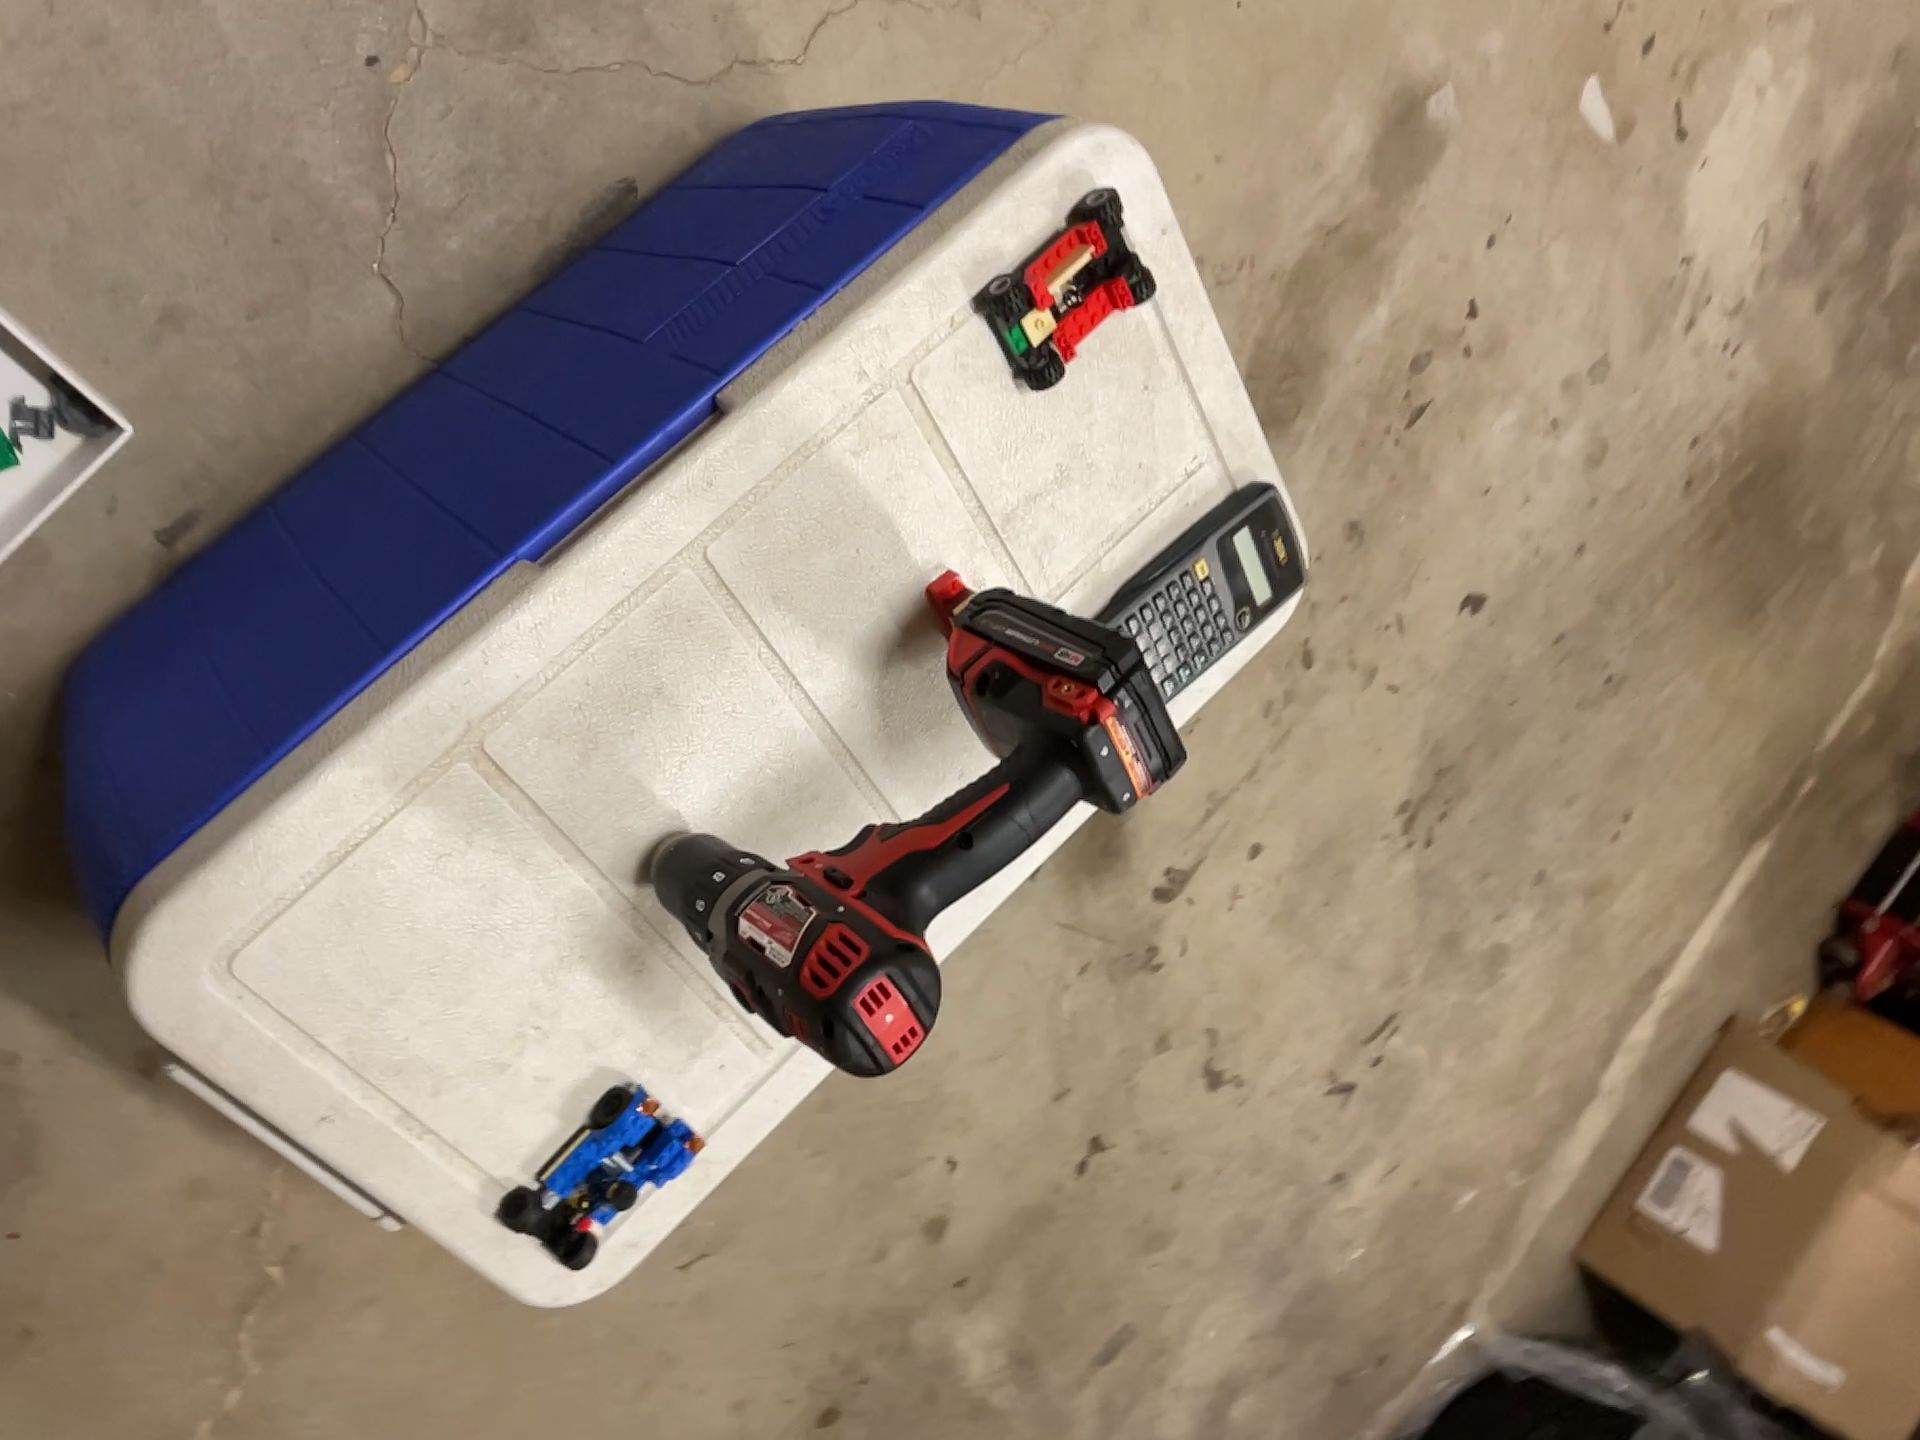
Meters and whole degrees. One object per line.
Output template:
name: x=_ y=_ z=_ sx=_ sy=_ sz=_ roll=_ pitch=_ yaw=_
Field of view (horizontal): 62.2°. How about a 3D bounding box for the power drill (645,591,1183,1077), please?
power drill: x=-0.030 y=0.043 z=0.742 sx=0.227 sy=0.188 sz=0.080 roll=-43 pitch=131 yaw=-19
